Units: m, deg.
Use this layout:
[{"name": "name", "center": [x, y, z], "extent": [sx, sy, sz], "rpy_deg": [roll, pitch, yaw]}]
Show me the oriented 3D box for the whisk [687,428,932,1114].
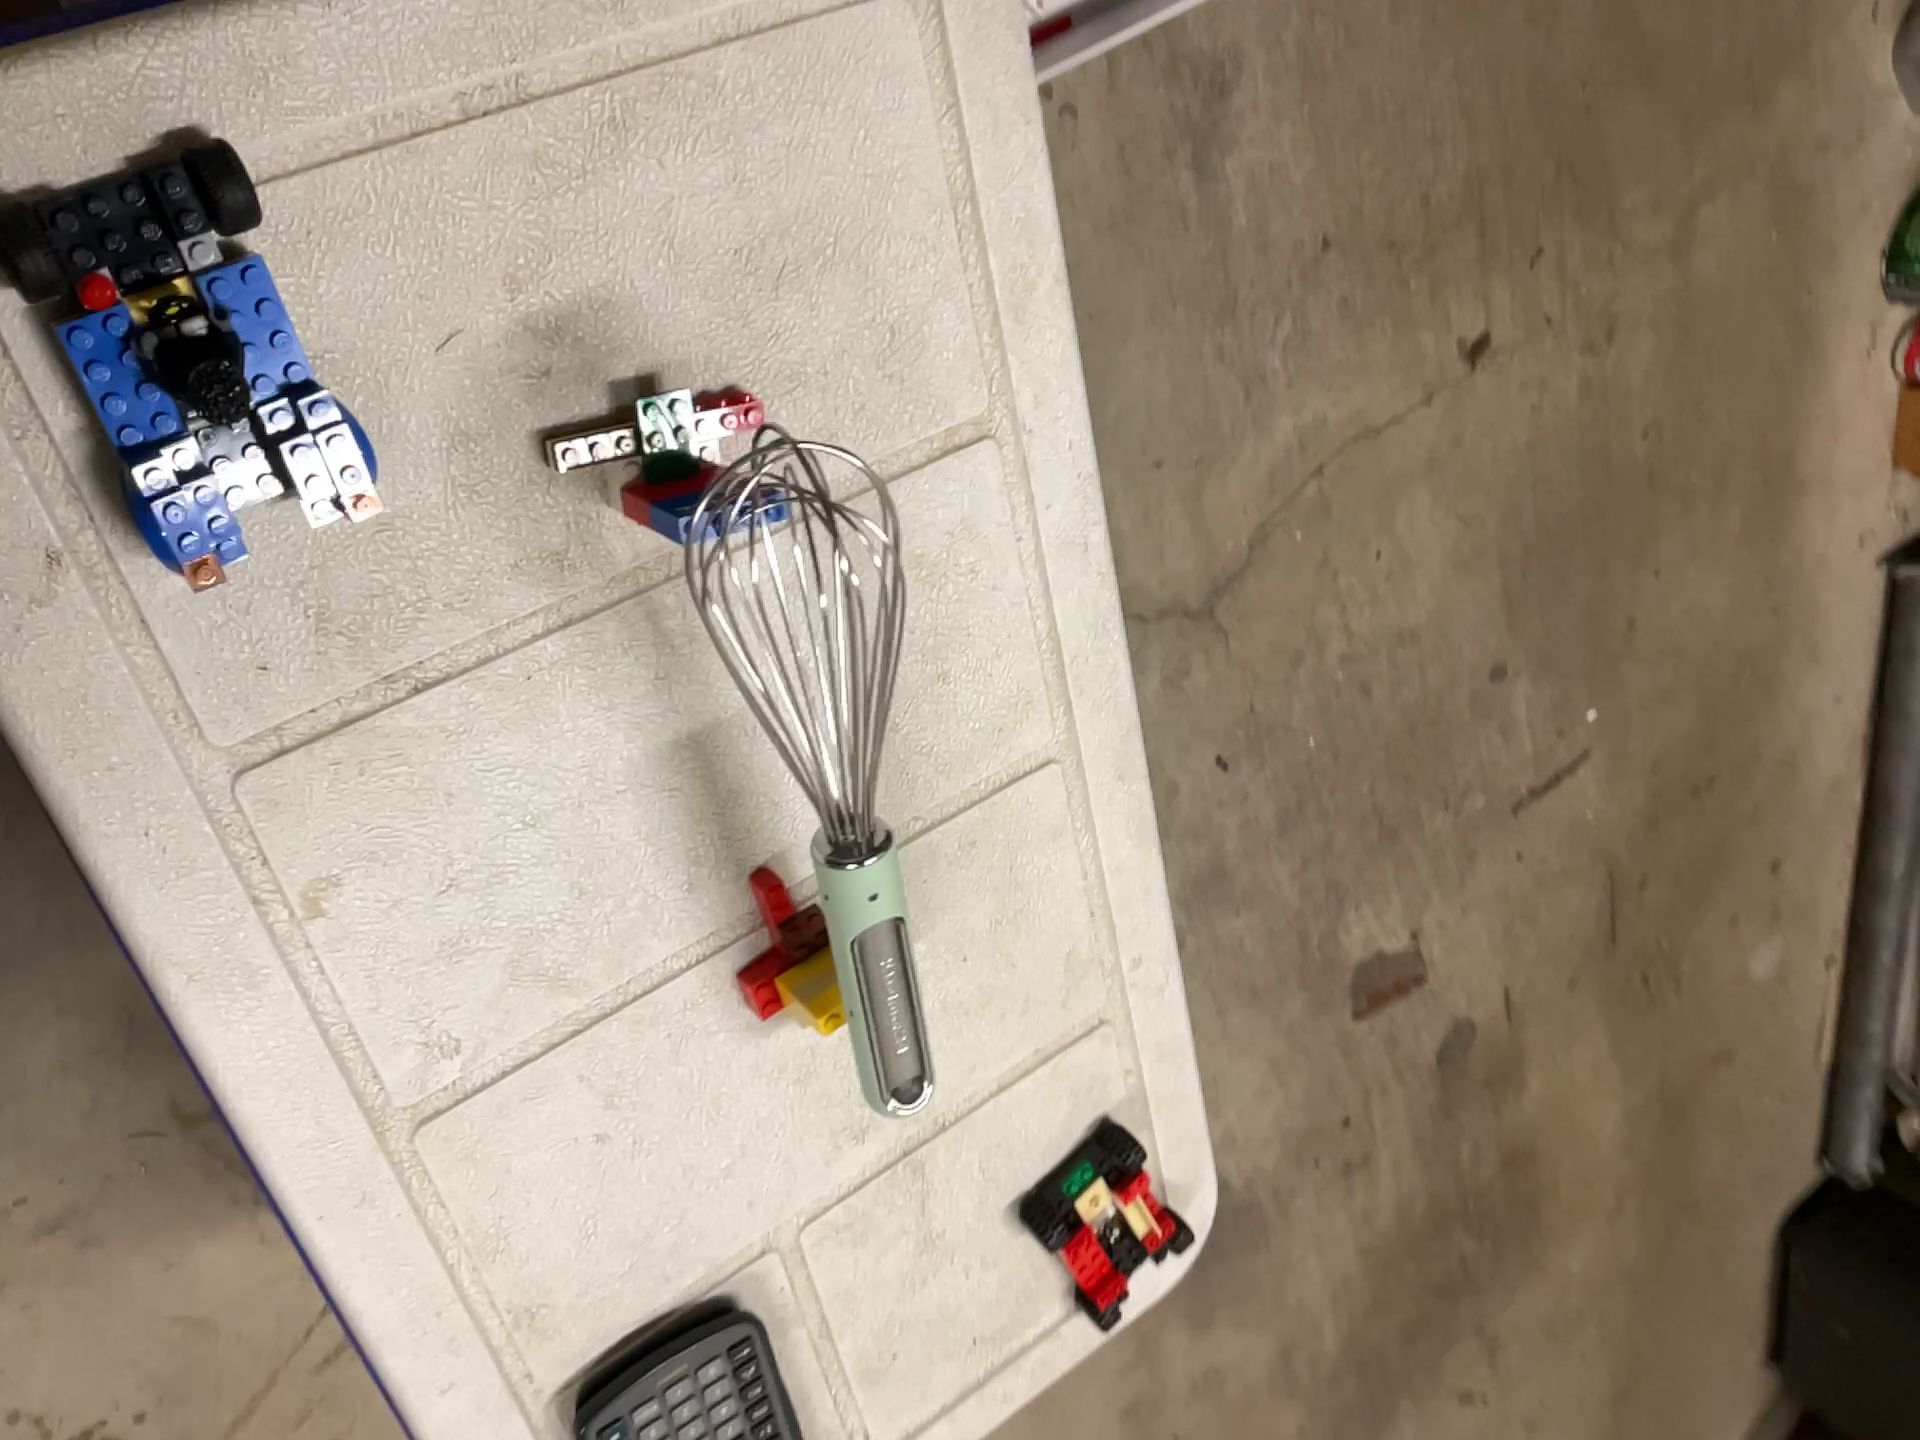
[{"name": "whisk", "center": [-0.033, 0.029, 0.467], "extent": [0.058, 0.059, 0.246], "rpy_deg": [-22, 128, -20]}]
